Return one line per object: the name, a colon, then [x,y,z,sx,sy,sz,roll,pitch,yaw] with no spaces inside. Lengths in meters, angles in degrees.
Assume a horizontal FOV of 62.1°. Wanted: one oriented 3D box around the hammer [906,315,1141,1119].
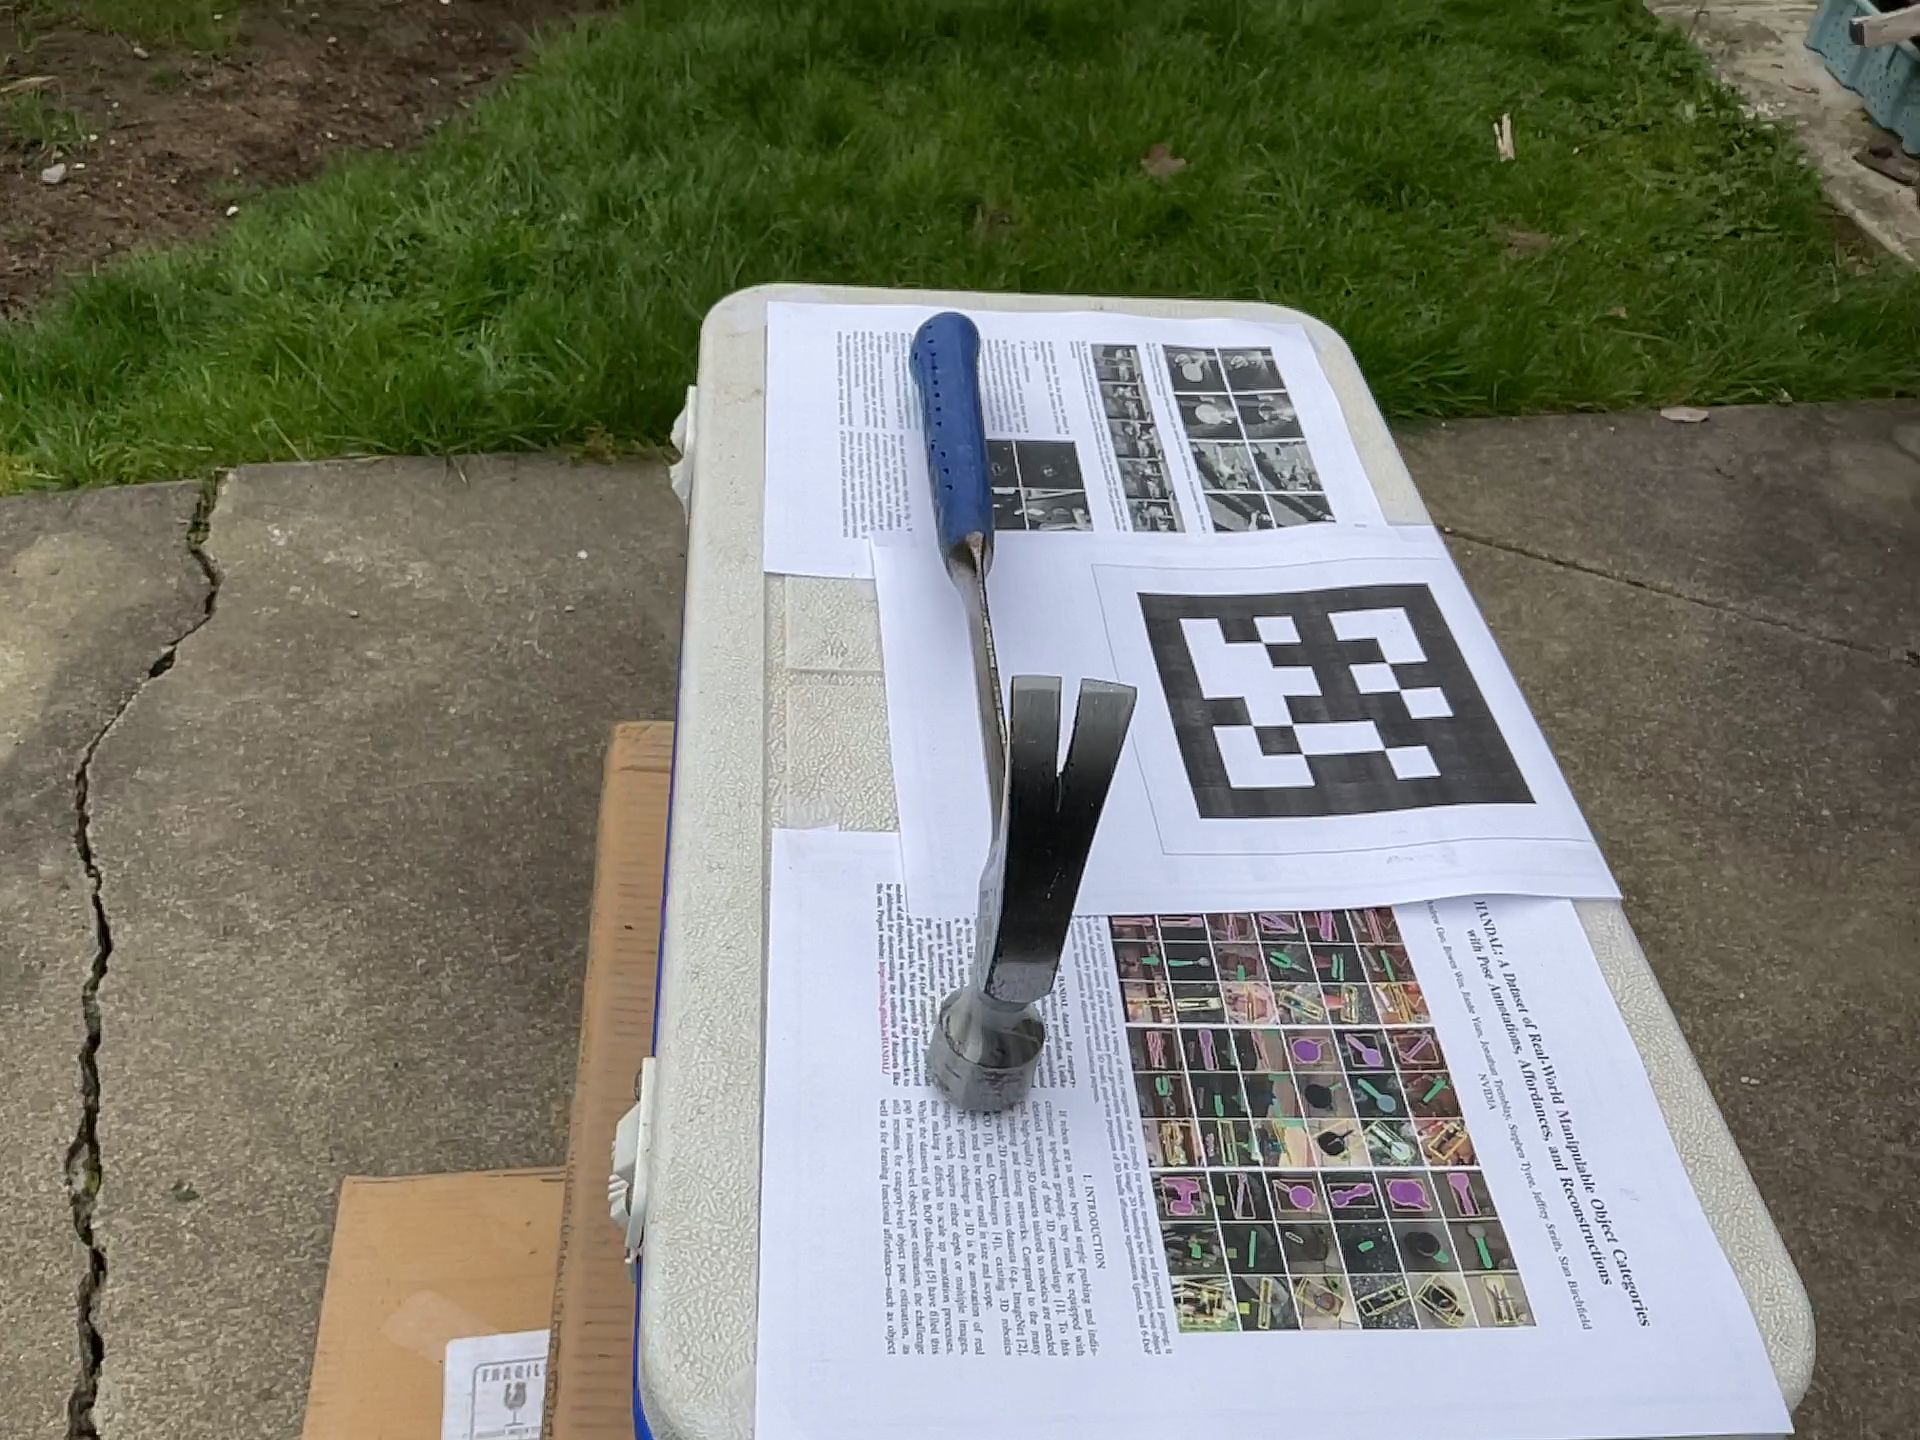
hammer: [0.006,-0.057,0.598,0.035,0.144,0.405,6,37,-10]
